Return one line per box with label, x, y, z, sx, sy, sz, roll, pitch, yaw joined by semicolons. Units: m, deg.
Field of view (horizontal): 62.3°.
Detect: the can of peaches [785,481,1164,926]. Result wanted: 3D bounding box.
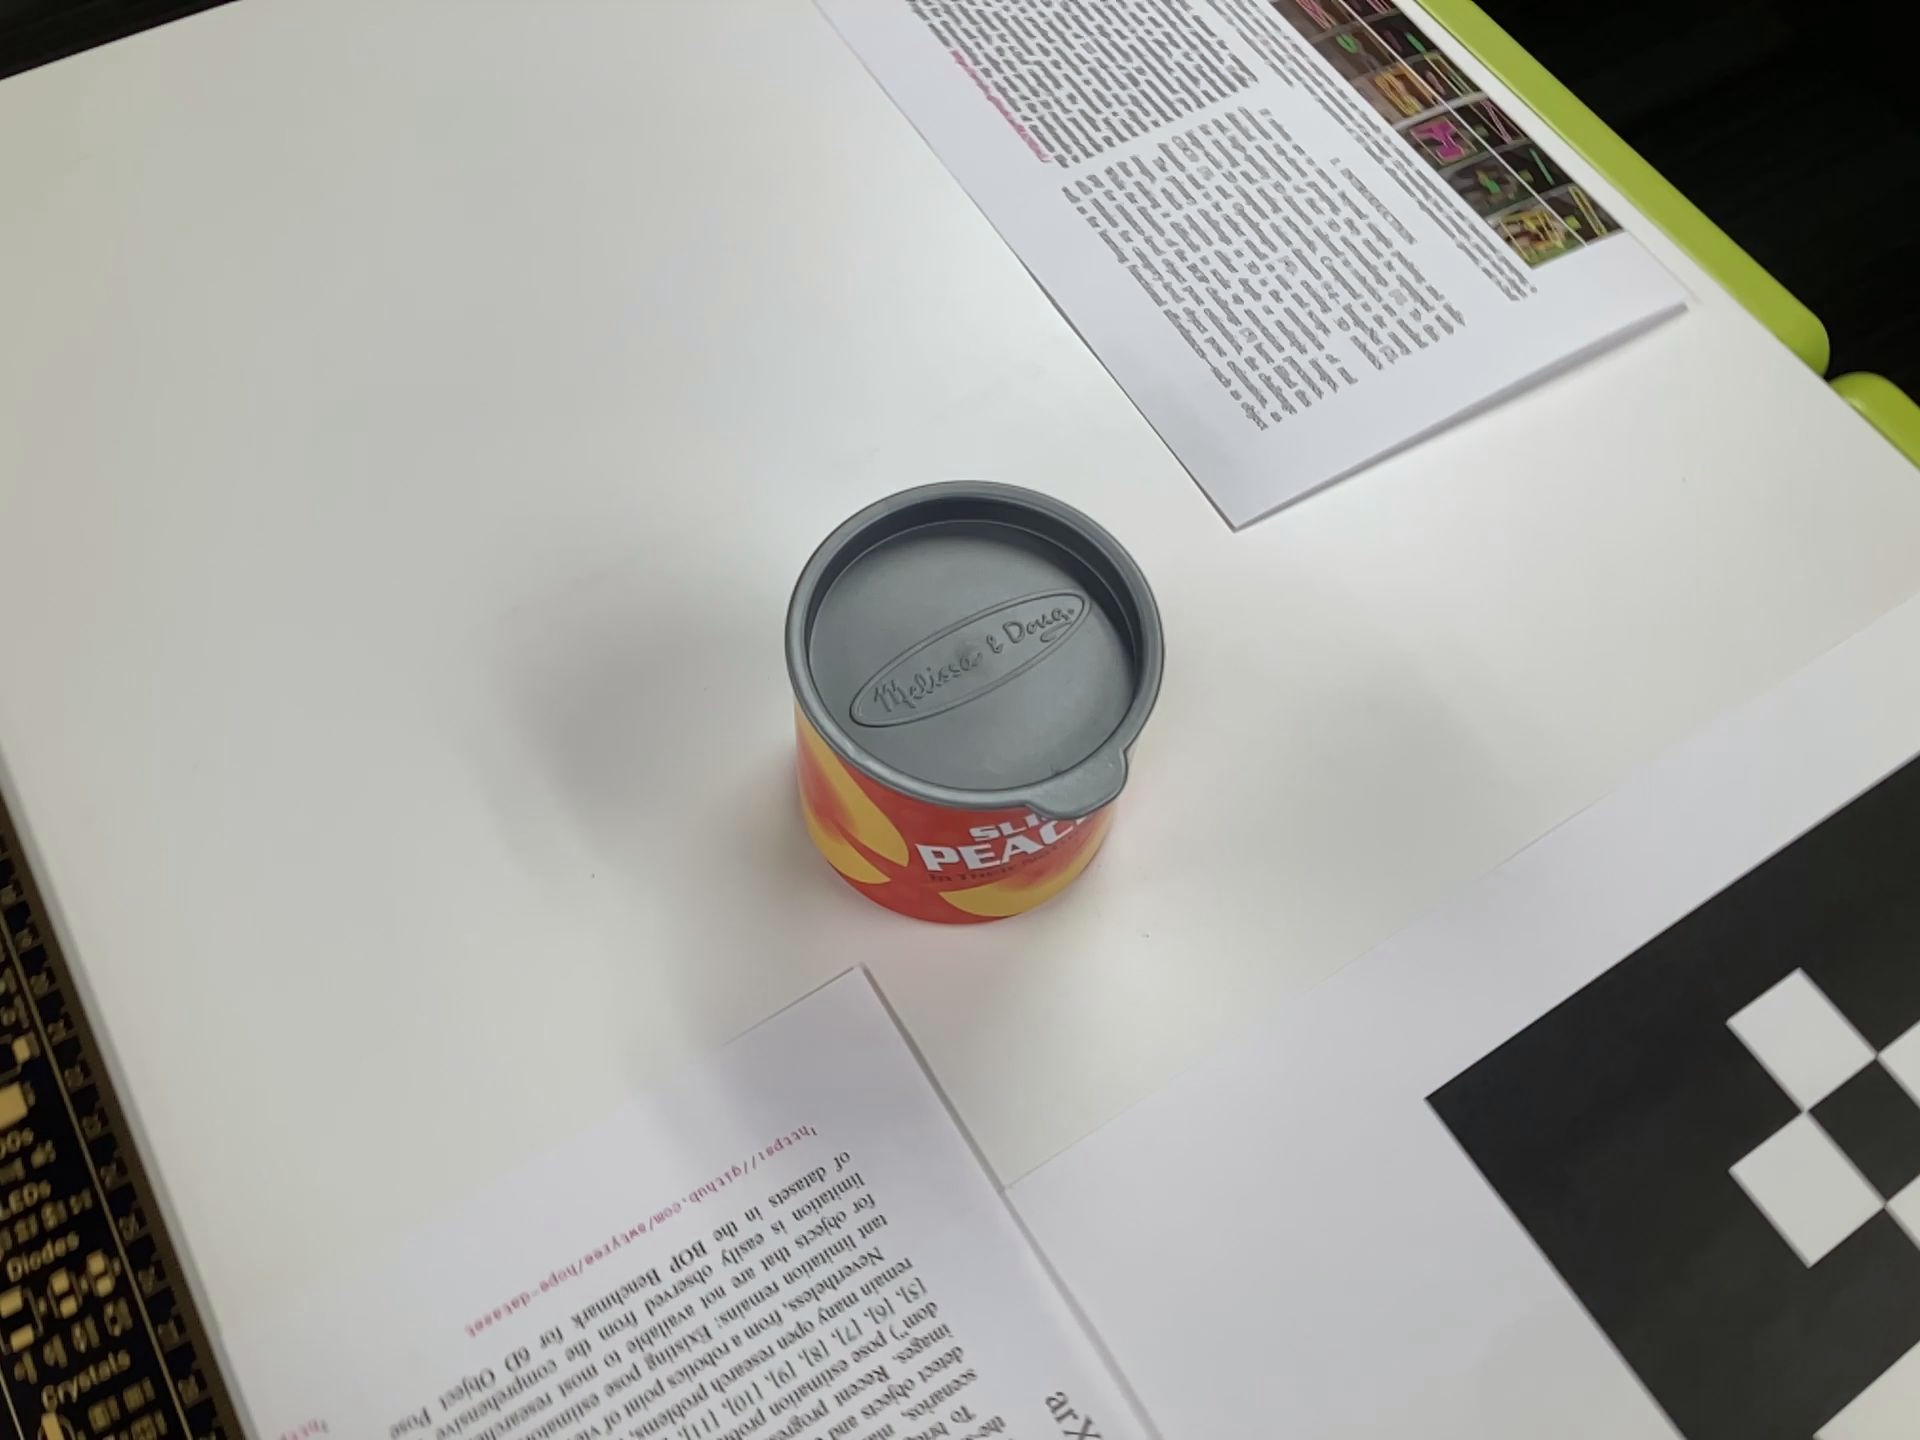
can of peaches;0.002;0.000;0.299;0.071;0.058;0.071;2;62;-3
